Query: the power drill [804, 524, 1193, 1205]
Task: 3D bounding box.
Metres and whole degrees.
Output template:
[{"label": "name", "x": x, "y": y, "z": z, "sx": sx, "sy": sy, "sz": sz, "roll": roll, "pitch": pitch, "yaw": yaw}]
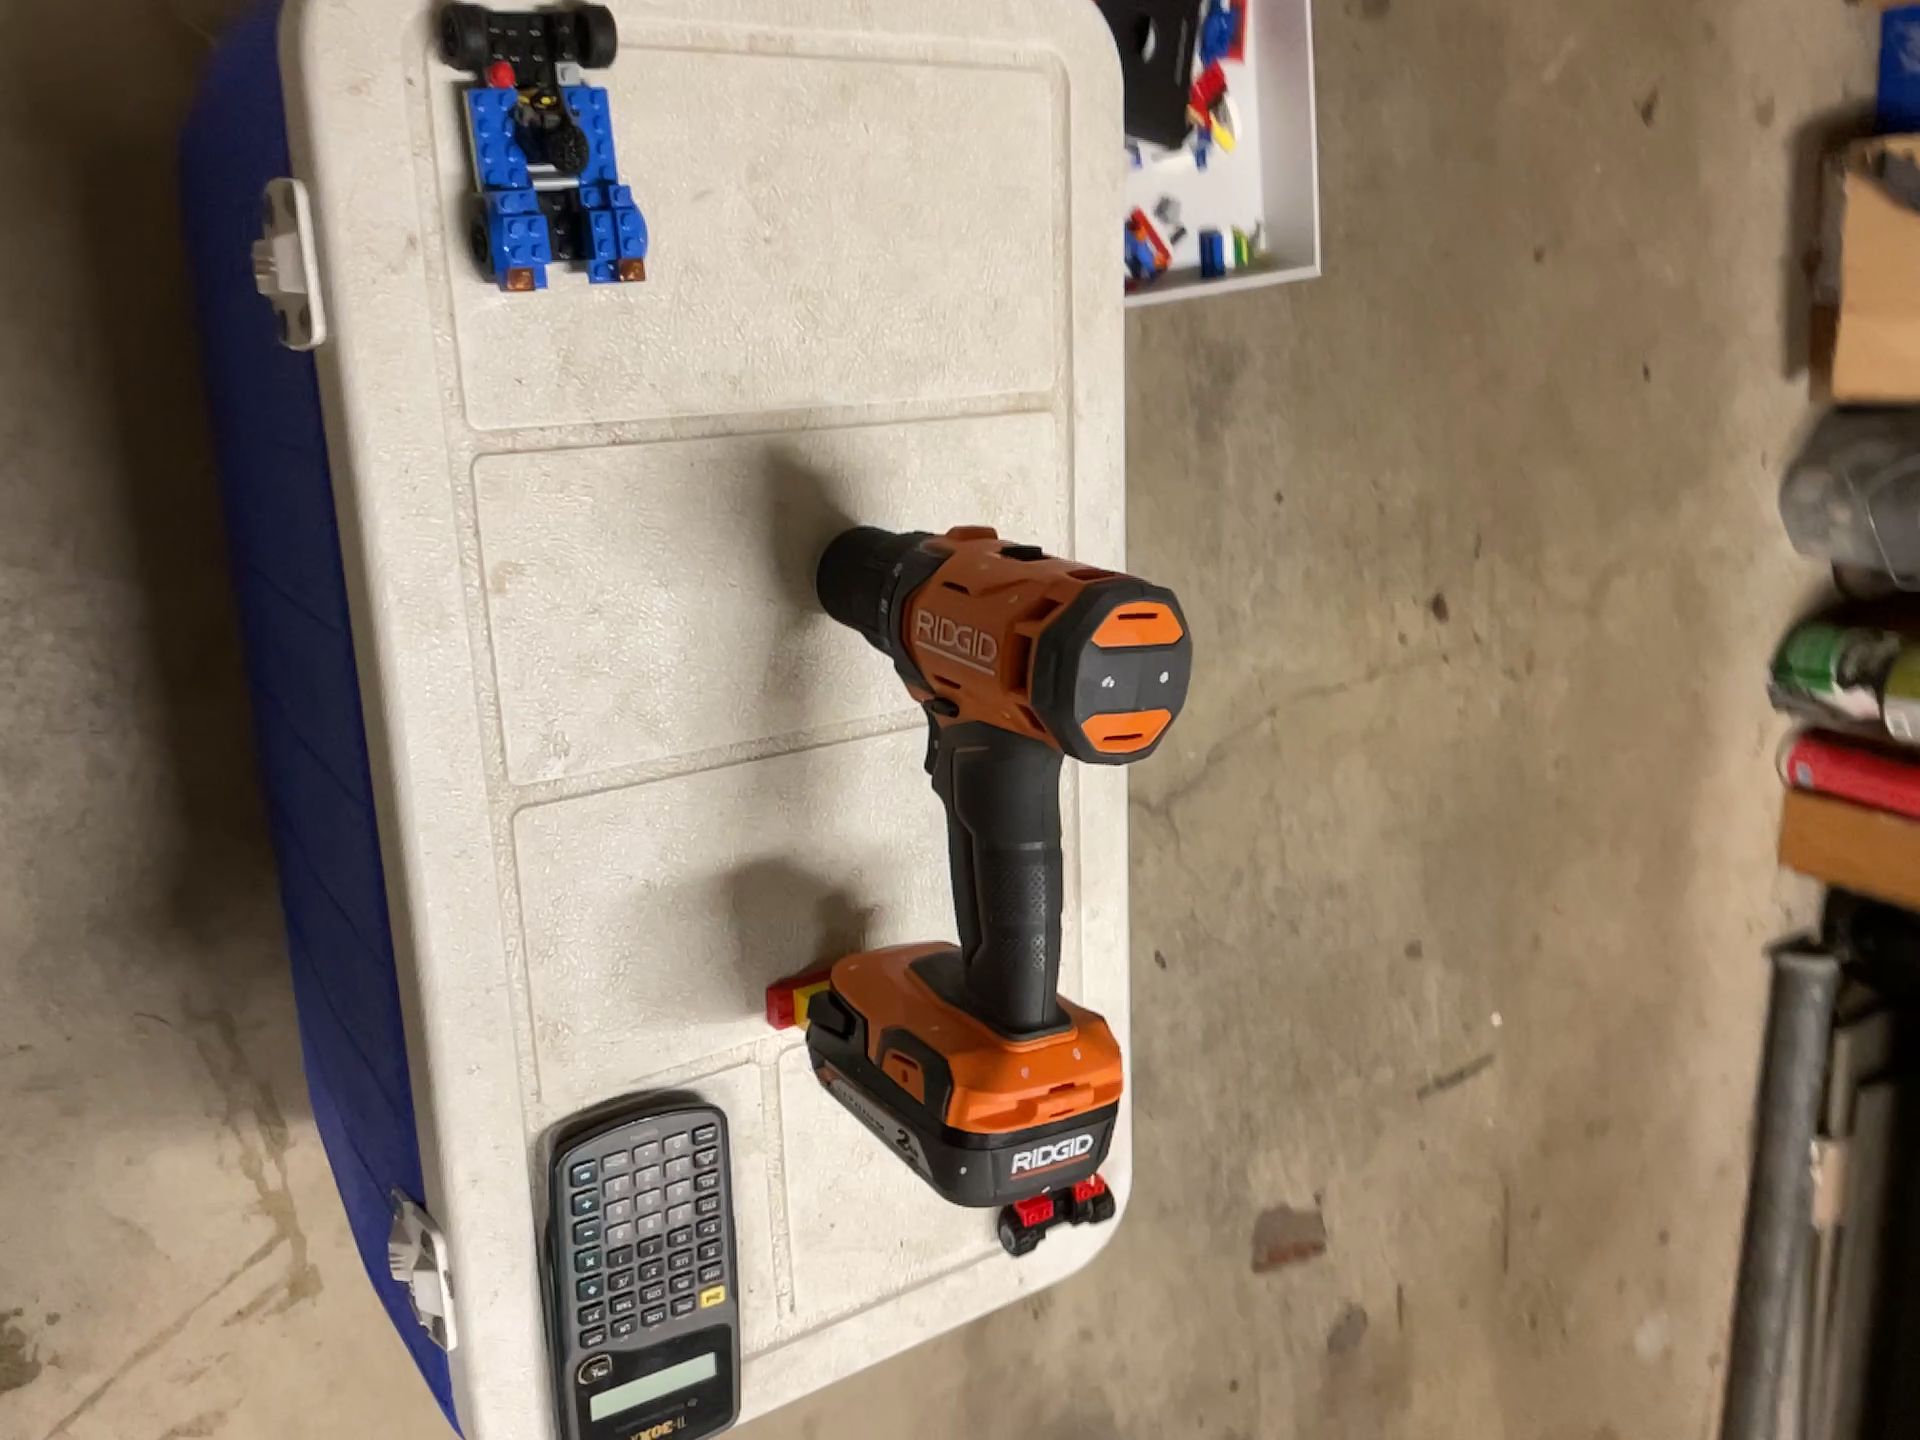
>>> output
[{"label": "power drill", "x": -0.005, "y": 0.039, "z": 0.600, "sx": 0.084, "sy": 0.185, "sz": 0.226, "roll": -5, "pitch": 109, "yaw": -36}]
